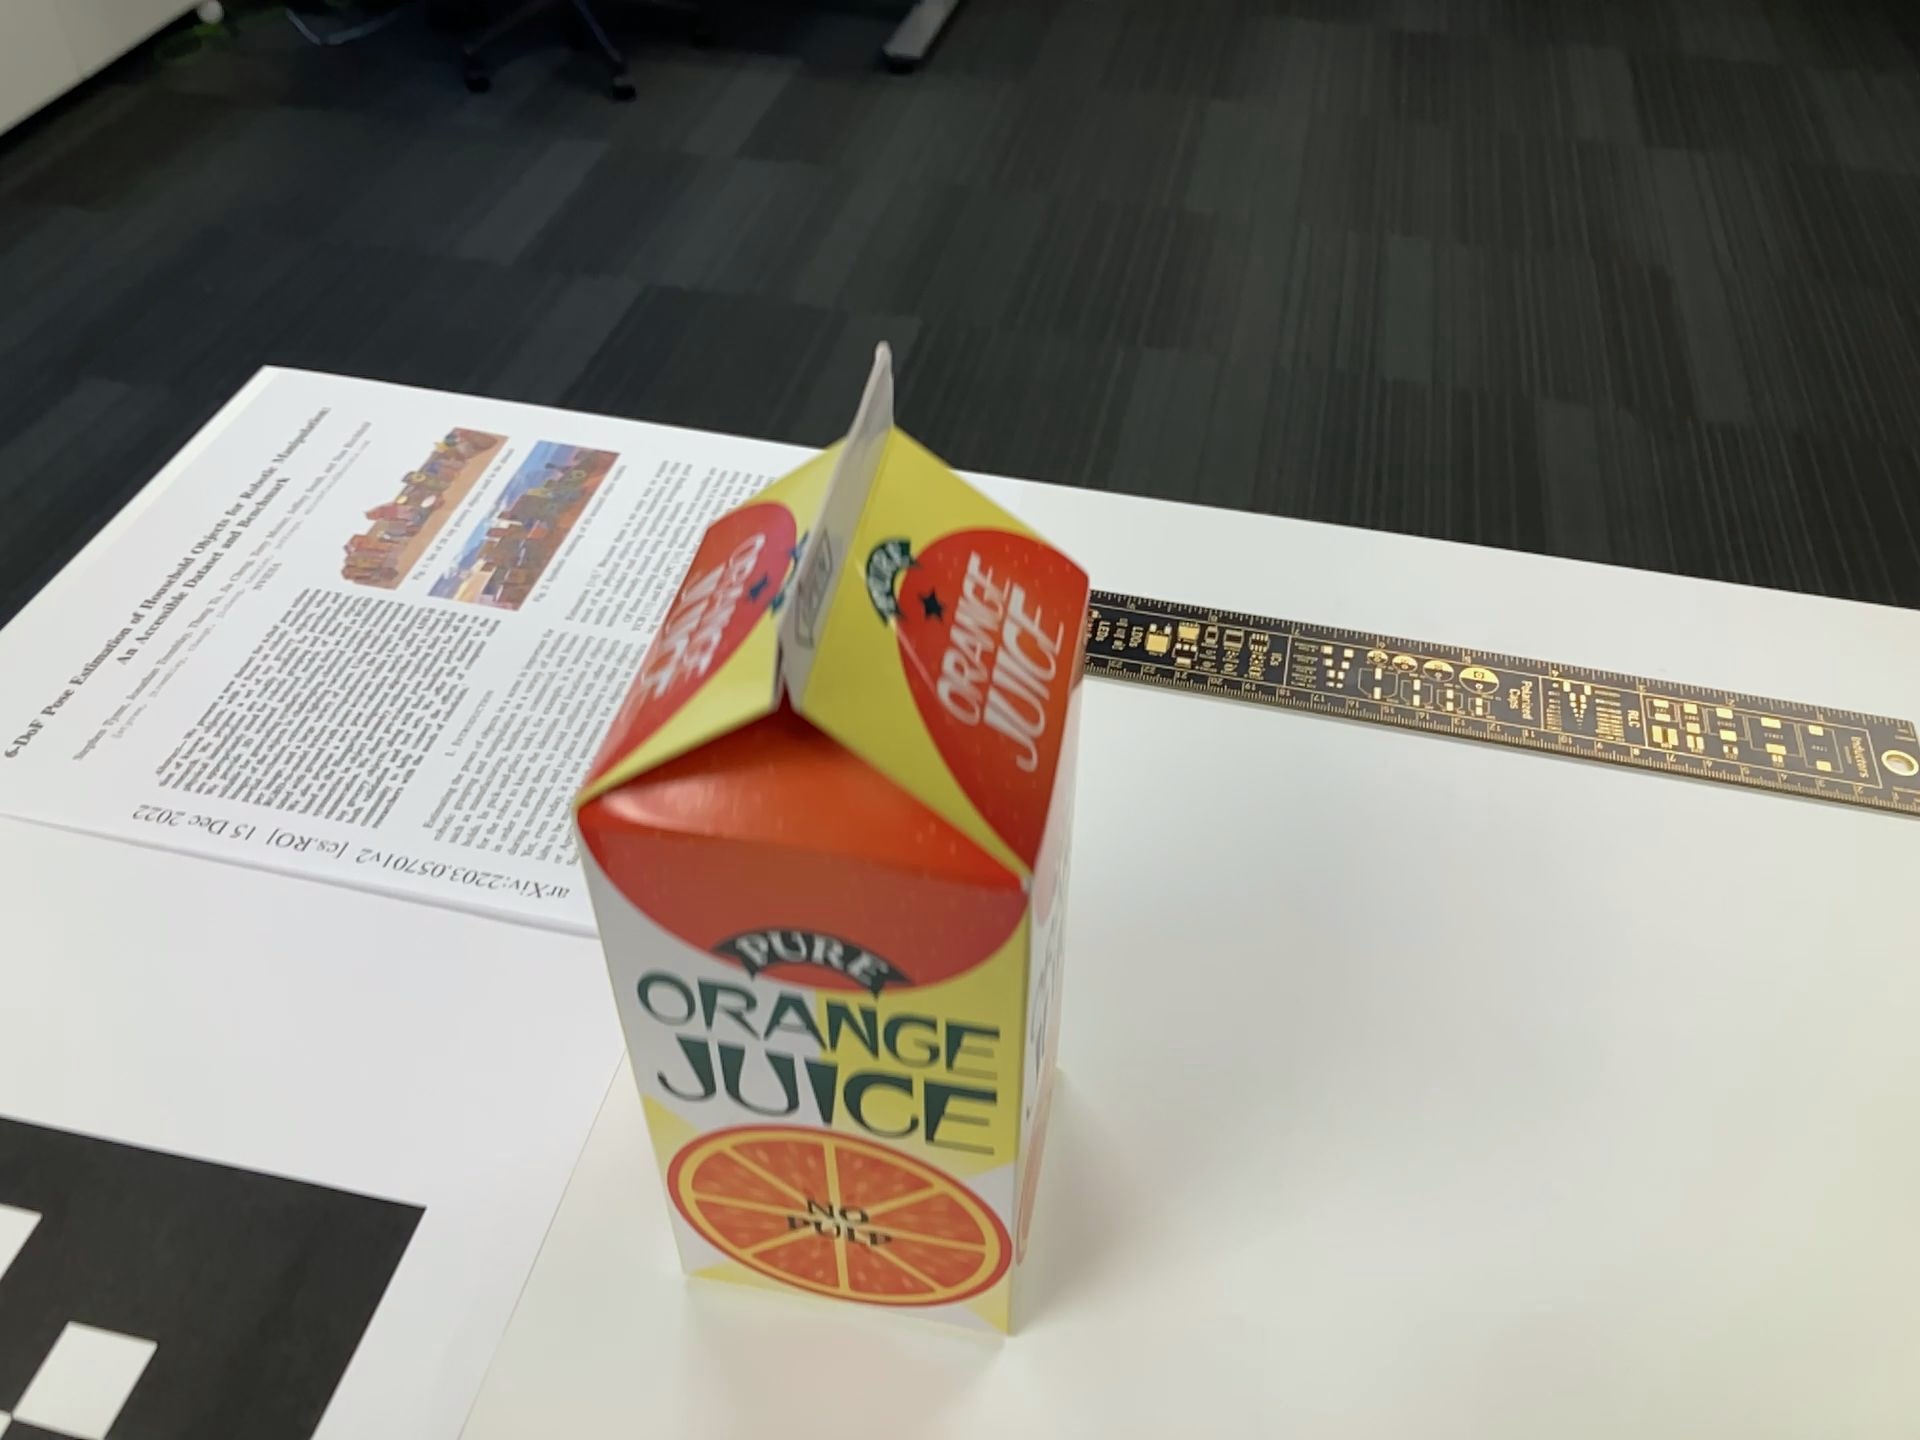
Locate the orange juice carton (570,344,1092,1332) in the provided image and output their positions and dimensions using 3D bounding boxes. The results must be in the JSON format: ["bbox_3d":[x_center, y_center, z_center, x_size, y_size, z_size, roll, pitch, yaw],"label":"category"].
[{"bbox_3d":[-0.017,0.032,0.293,0.073,0.192,0.072,8,45,8],"label":"orange juice carton"}]
